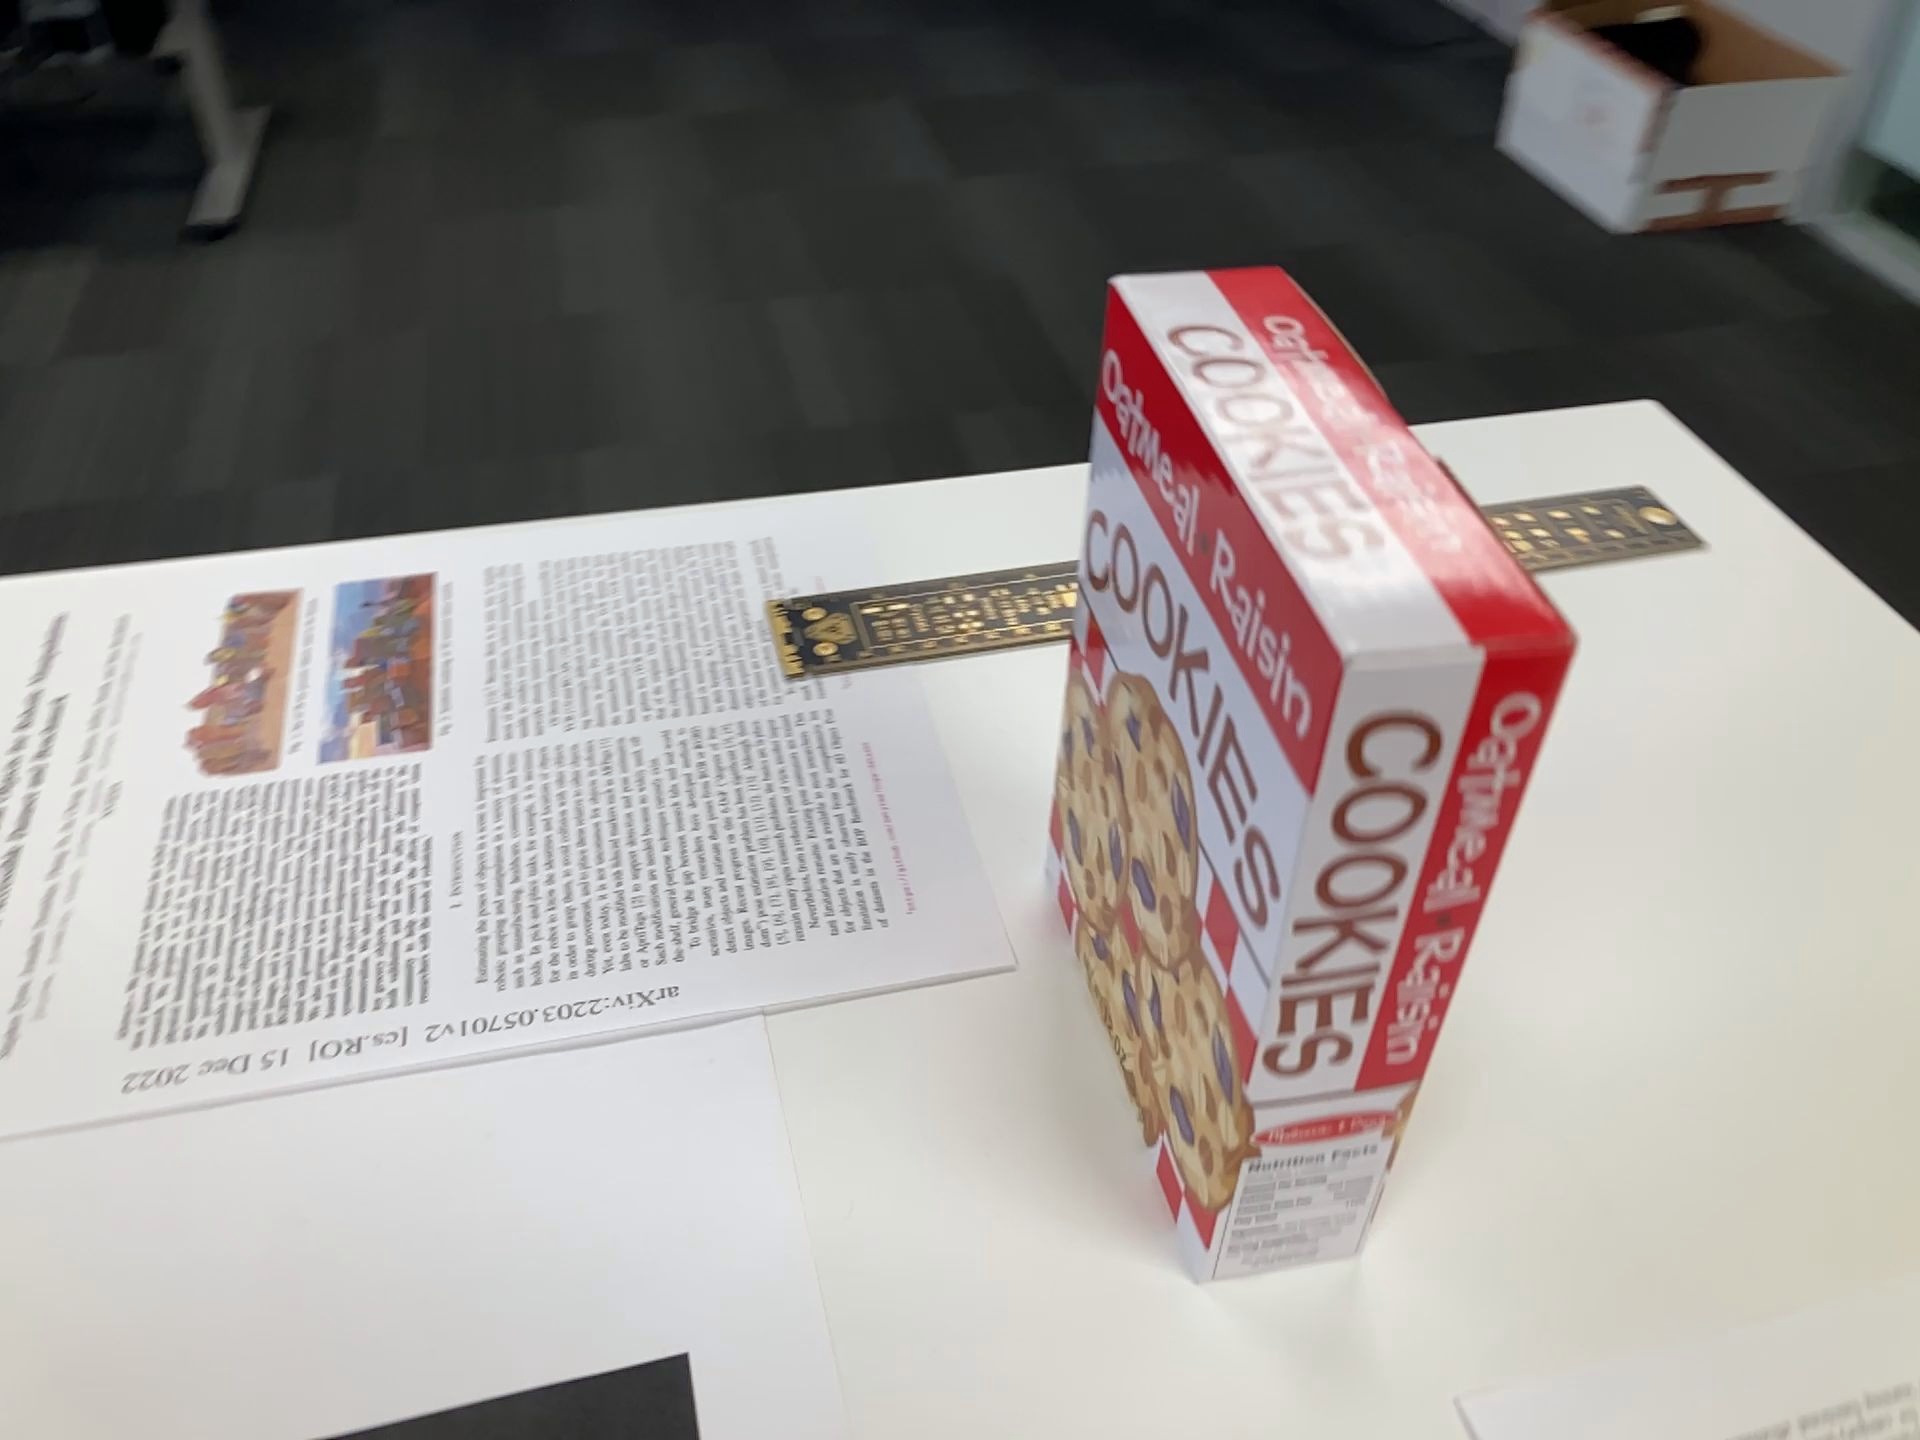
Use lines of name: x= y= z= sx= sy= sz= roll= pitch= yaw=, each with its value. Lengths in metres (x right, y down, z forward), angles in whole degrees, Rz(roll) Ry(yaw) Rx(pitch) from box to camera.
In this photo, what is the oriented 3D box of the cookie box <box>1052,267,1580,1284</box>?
cookie box: x=0.058 y=0.012 z=0.320 sx=0.040 sy=0.167 sz=0.123 roll=-7 pitch=41 yaw=-10
